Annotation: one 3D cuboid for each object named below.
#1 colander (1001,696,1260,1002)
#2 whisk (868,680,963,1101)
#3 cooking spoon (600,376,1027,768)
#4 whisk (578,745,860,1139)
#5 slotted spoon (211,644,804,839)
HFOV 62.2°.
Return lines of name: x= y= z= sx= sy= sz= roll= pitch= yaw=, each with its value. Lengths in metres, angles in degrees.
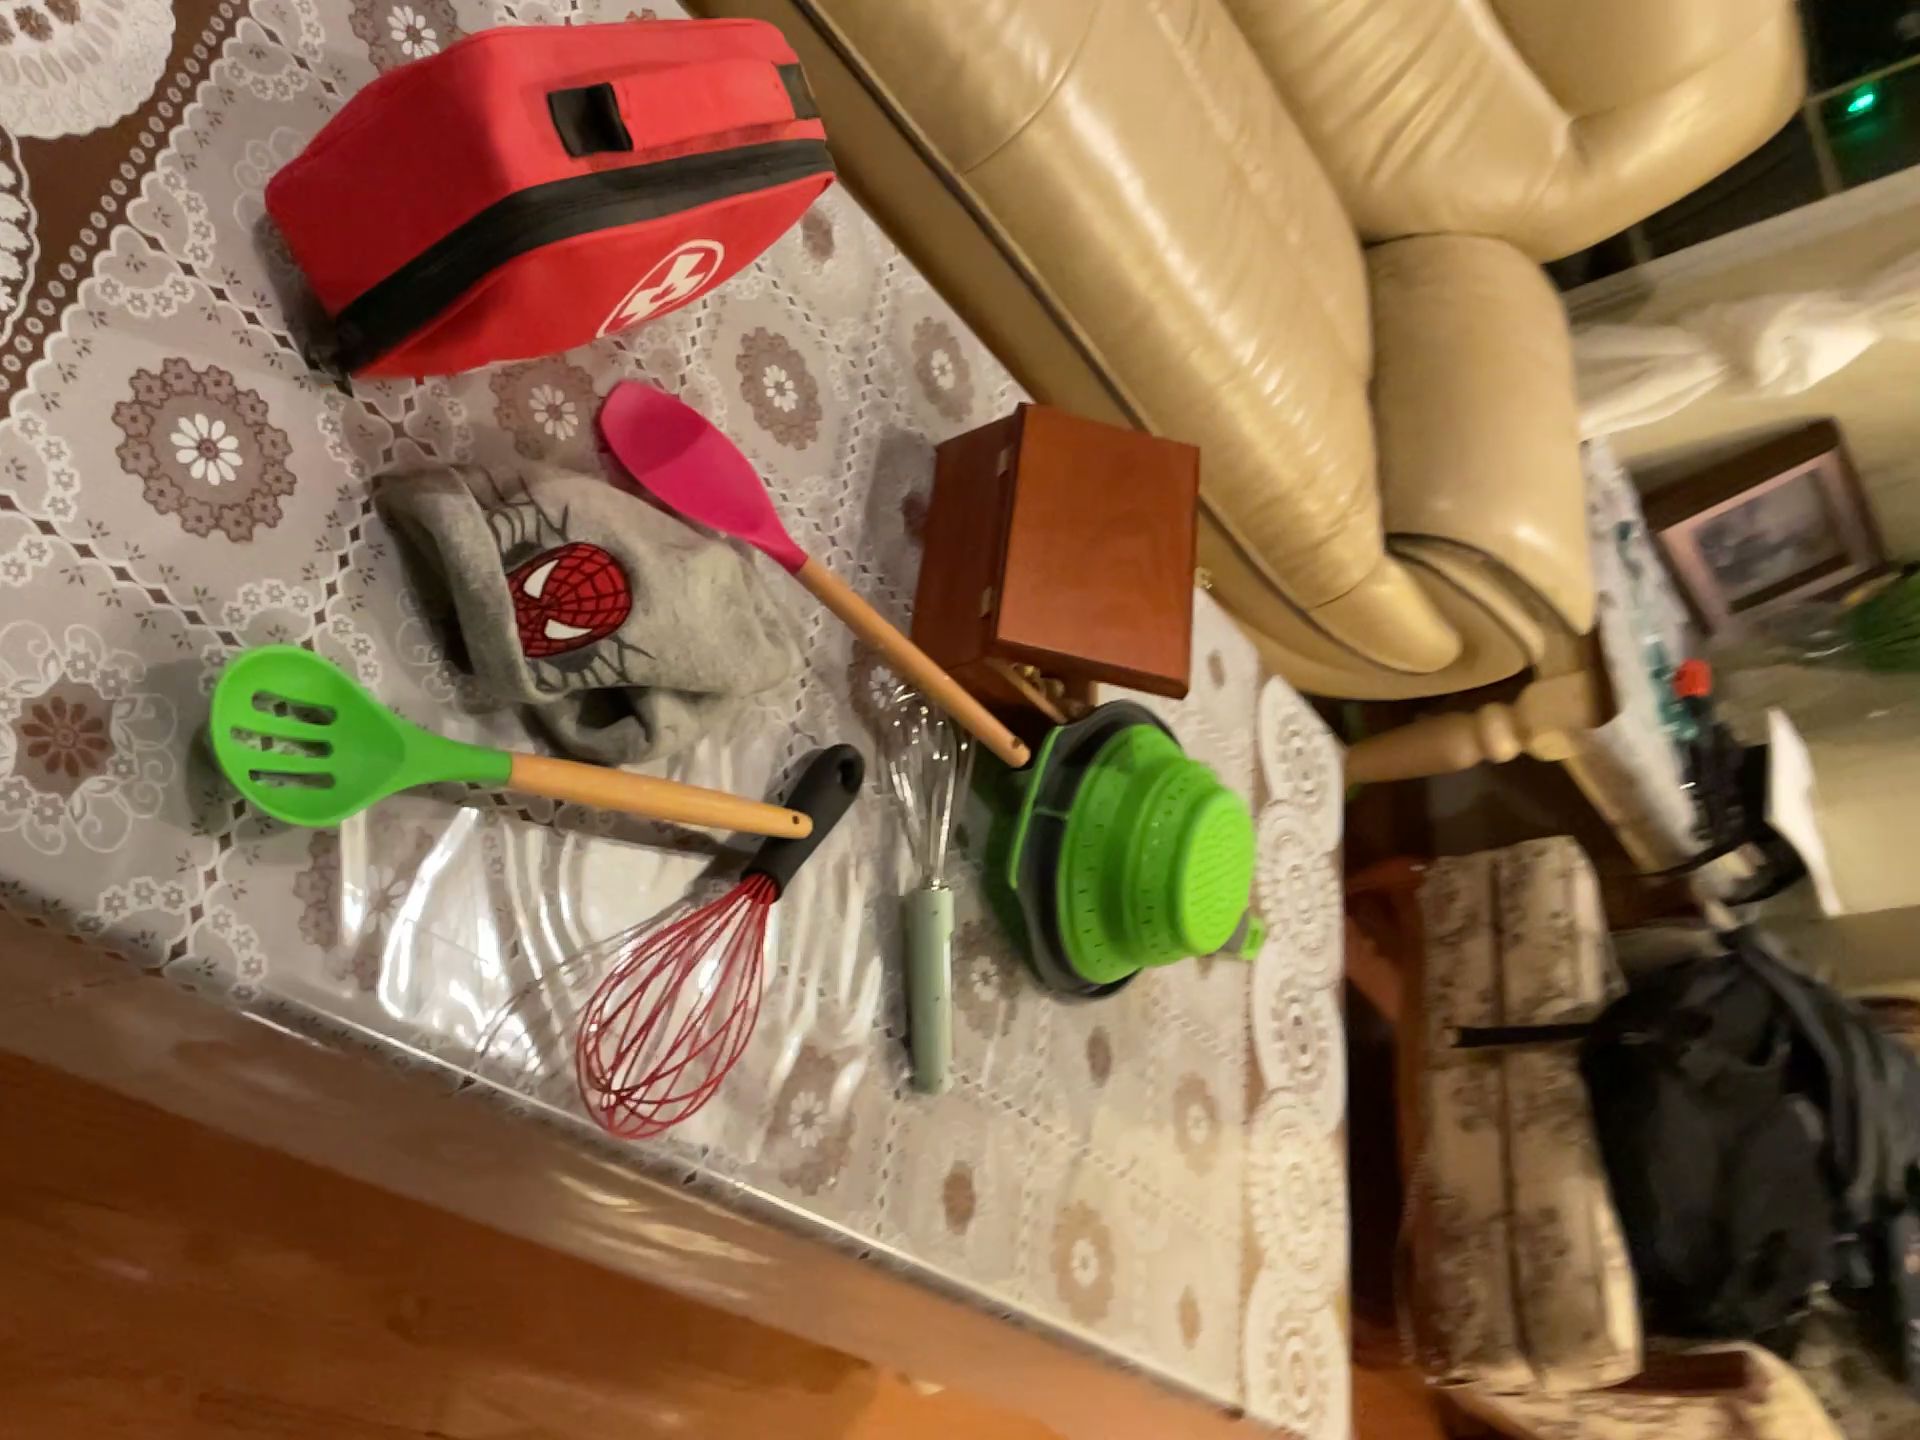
colander: x=0.167 y=0.119 z=1.103 sx=0.396 sy=0.094 sz=0.204 roll=35 pitch=69 yaw=-54
whisk: x=-0.022 y=0.094 z=0.922 sx=0.057 sy=0.059 sz=0.246 roll=1 pitch=75 yaw=-13
cooking spoon: x=-0.072 y=-0.071 z=0.880 sx=0.318 sy=0.017 sz=0.069 roll=41 pitch=46 yaw=-25
whisk: x=-0.105 y=0.092 z=0.781 sx=0.073 sy=0.073 sz=0.296 roll=55 pitch=30 yaw=-16
slotted spoon: x=-0.181 y=0.027 z=0.698 sx=0.313 sy=0.031 sz=0.070 roll=16 pitch=63 yaw=-50
